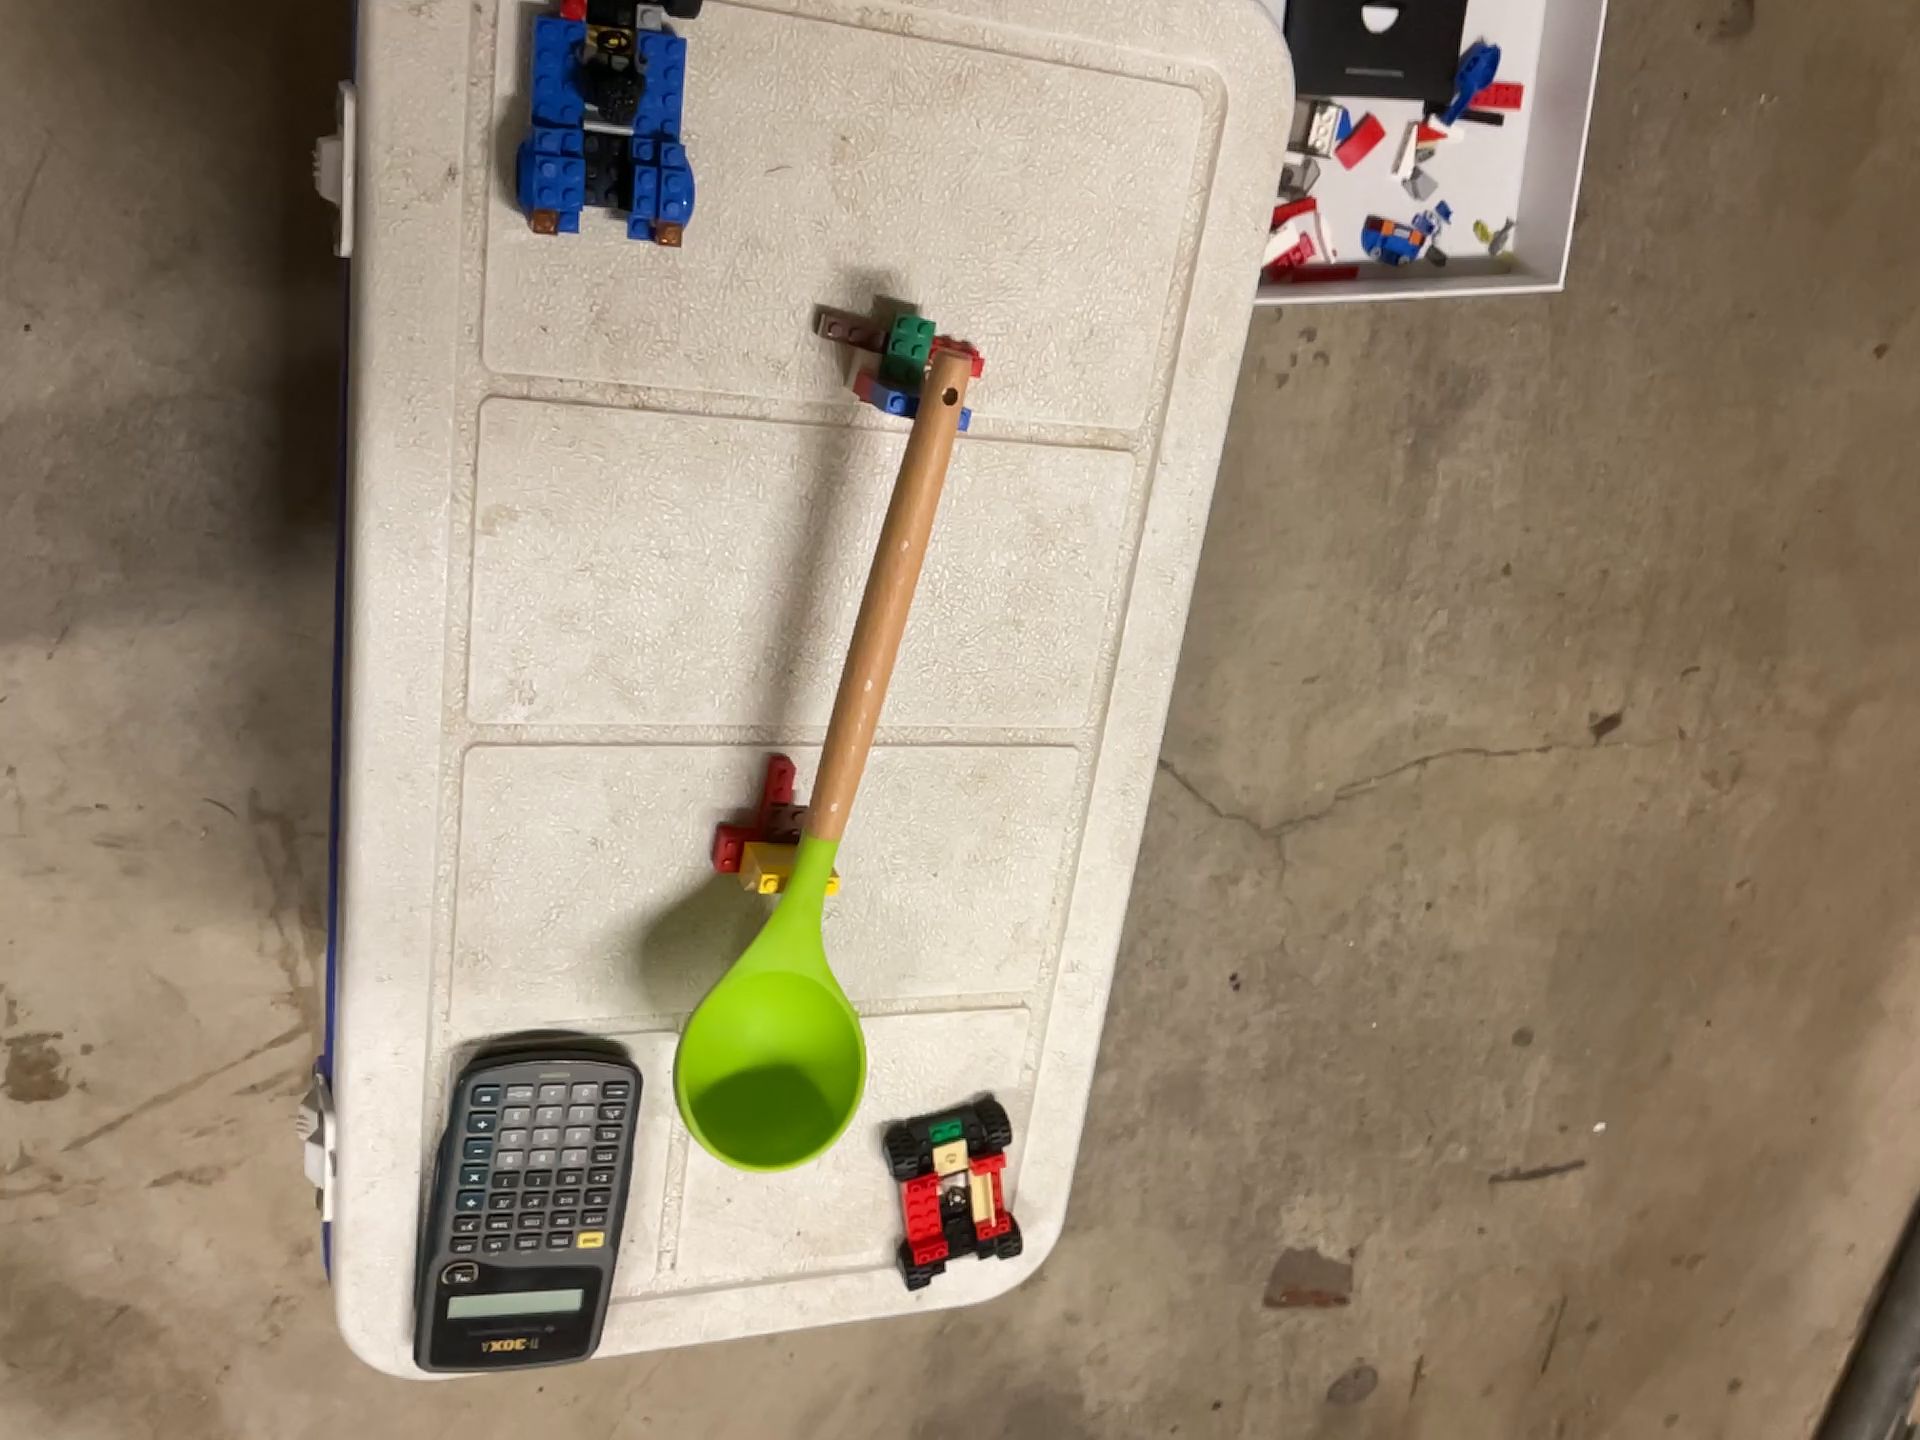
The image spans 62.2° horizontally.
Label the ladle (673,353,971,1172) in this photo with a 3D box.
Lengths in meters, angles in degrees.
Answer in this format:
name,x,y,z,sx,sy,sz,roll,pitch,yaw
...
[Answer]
name,x,y,z,sx,sy,sz,roll,pitch,yaw
ladle,-0.042,0.024,0.590,0.078,0.062,0.320,8,110,-24
